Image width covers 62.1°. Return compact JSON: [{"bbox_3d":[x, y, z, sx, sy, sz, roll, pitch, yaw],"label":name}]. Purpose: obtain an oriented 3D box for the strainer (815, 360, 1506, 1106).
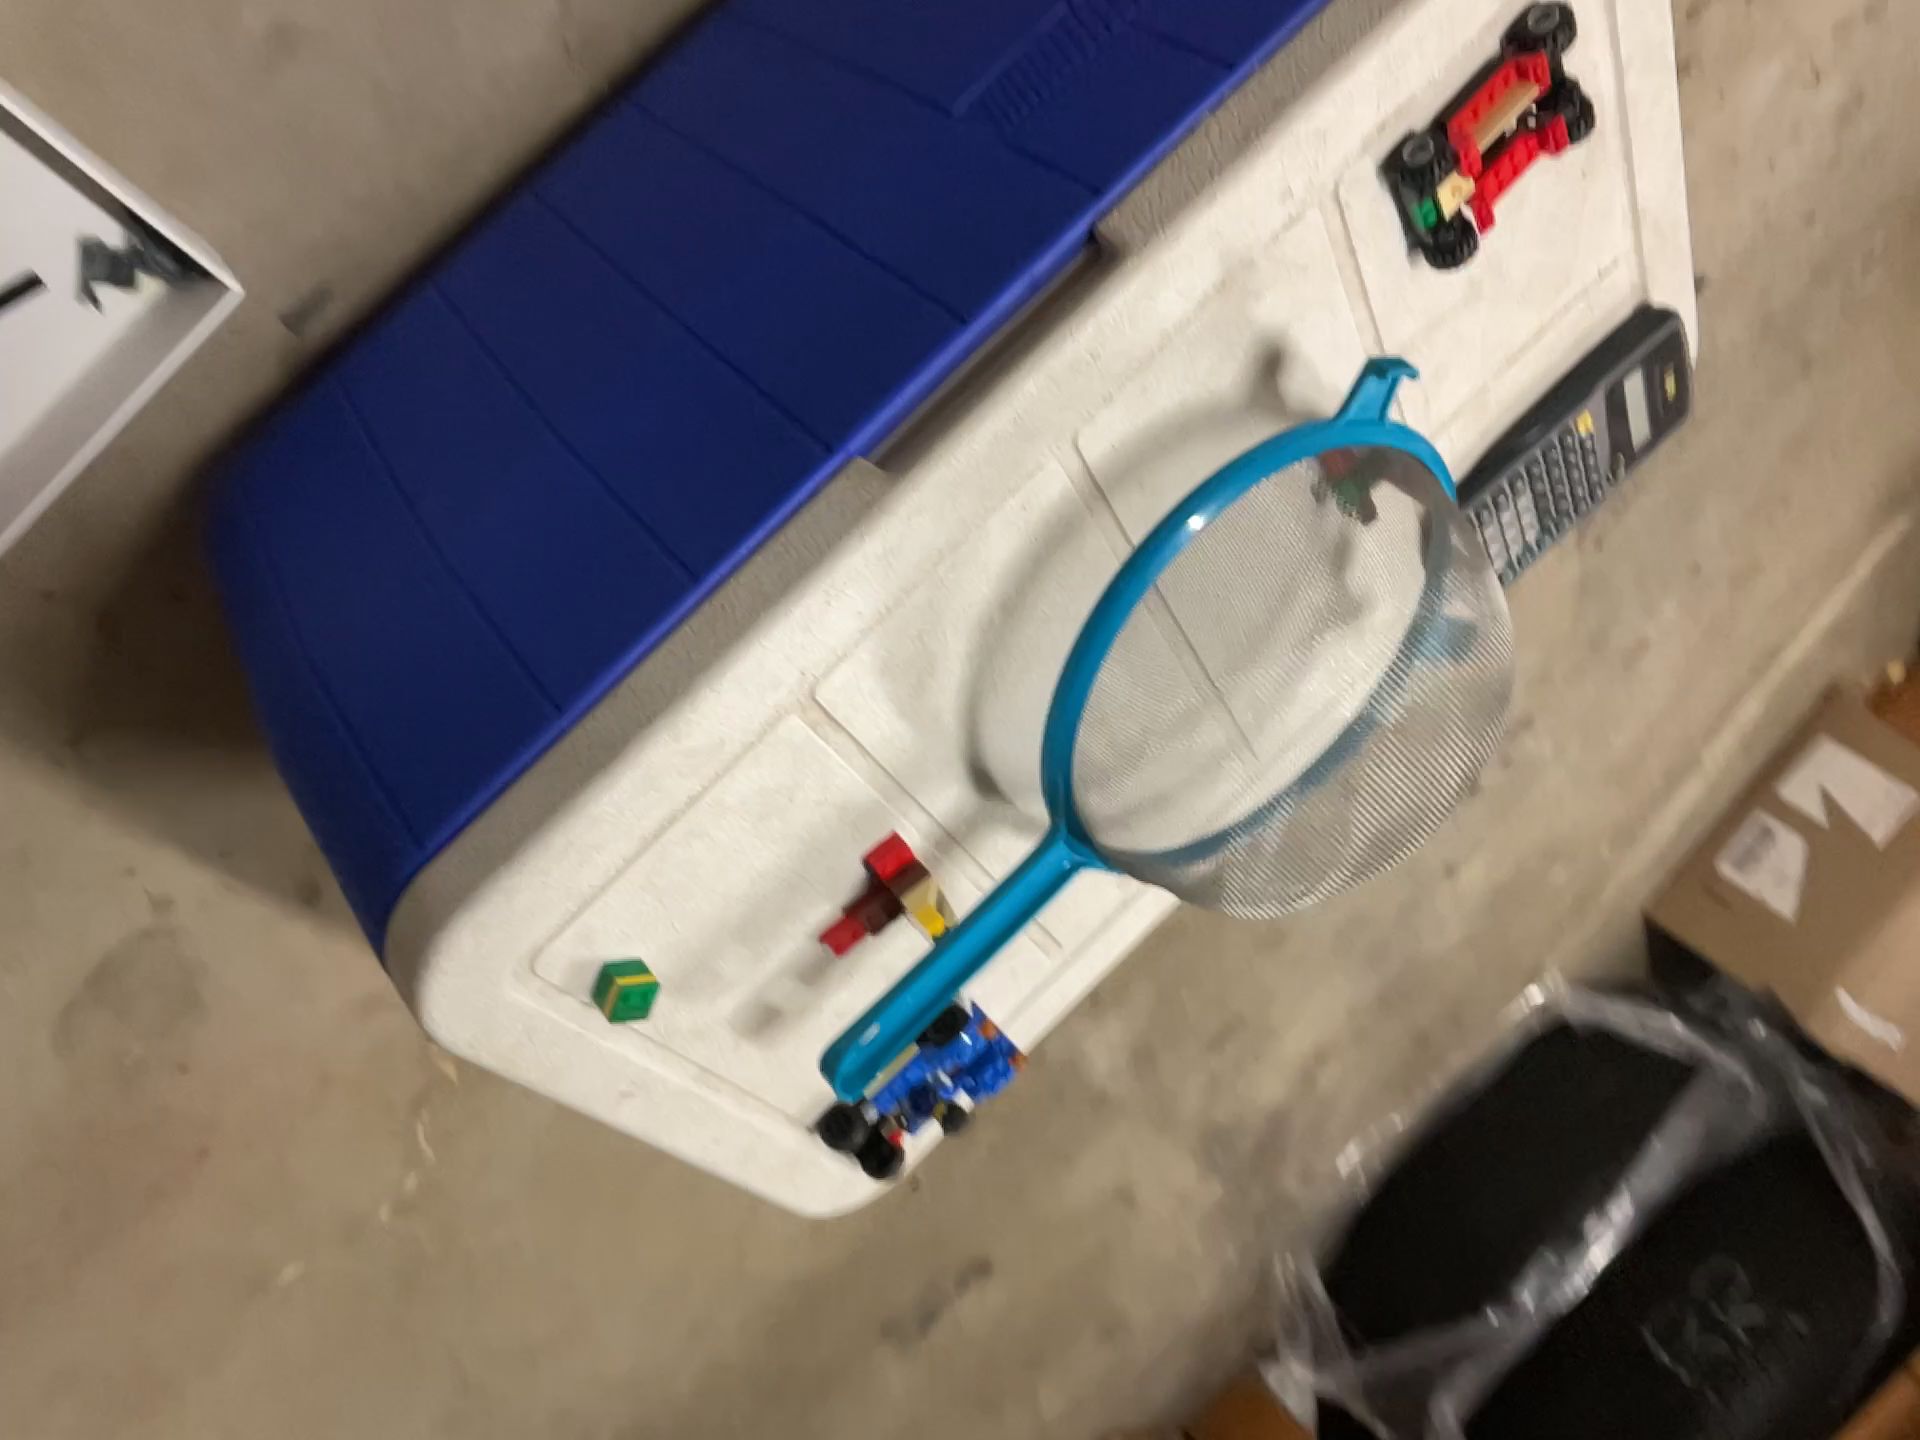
[{"bbox_3d":[0.091,0.044,0.602,0.340,0.095,0.210,-44,141,-5],"label":"strainer"}]
